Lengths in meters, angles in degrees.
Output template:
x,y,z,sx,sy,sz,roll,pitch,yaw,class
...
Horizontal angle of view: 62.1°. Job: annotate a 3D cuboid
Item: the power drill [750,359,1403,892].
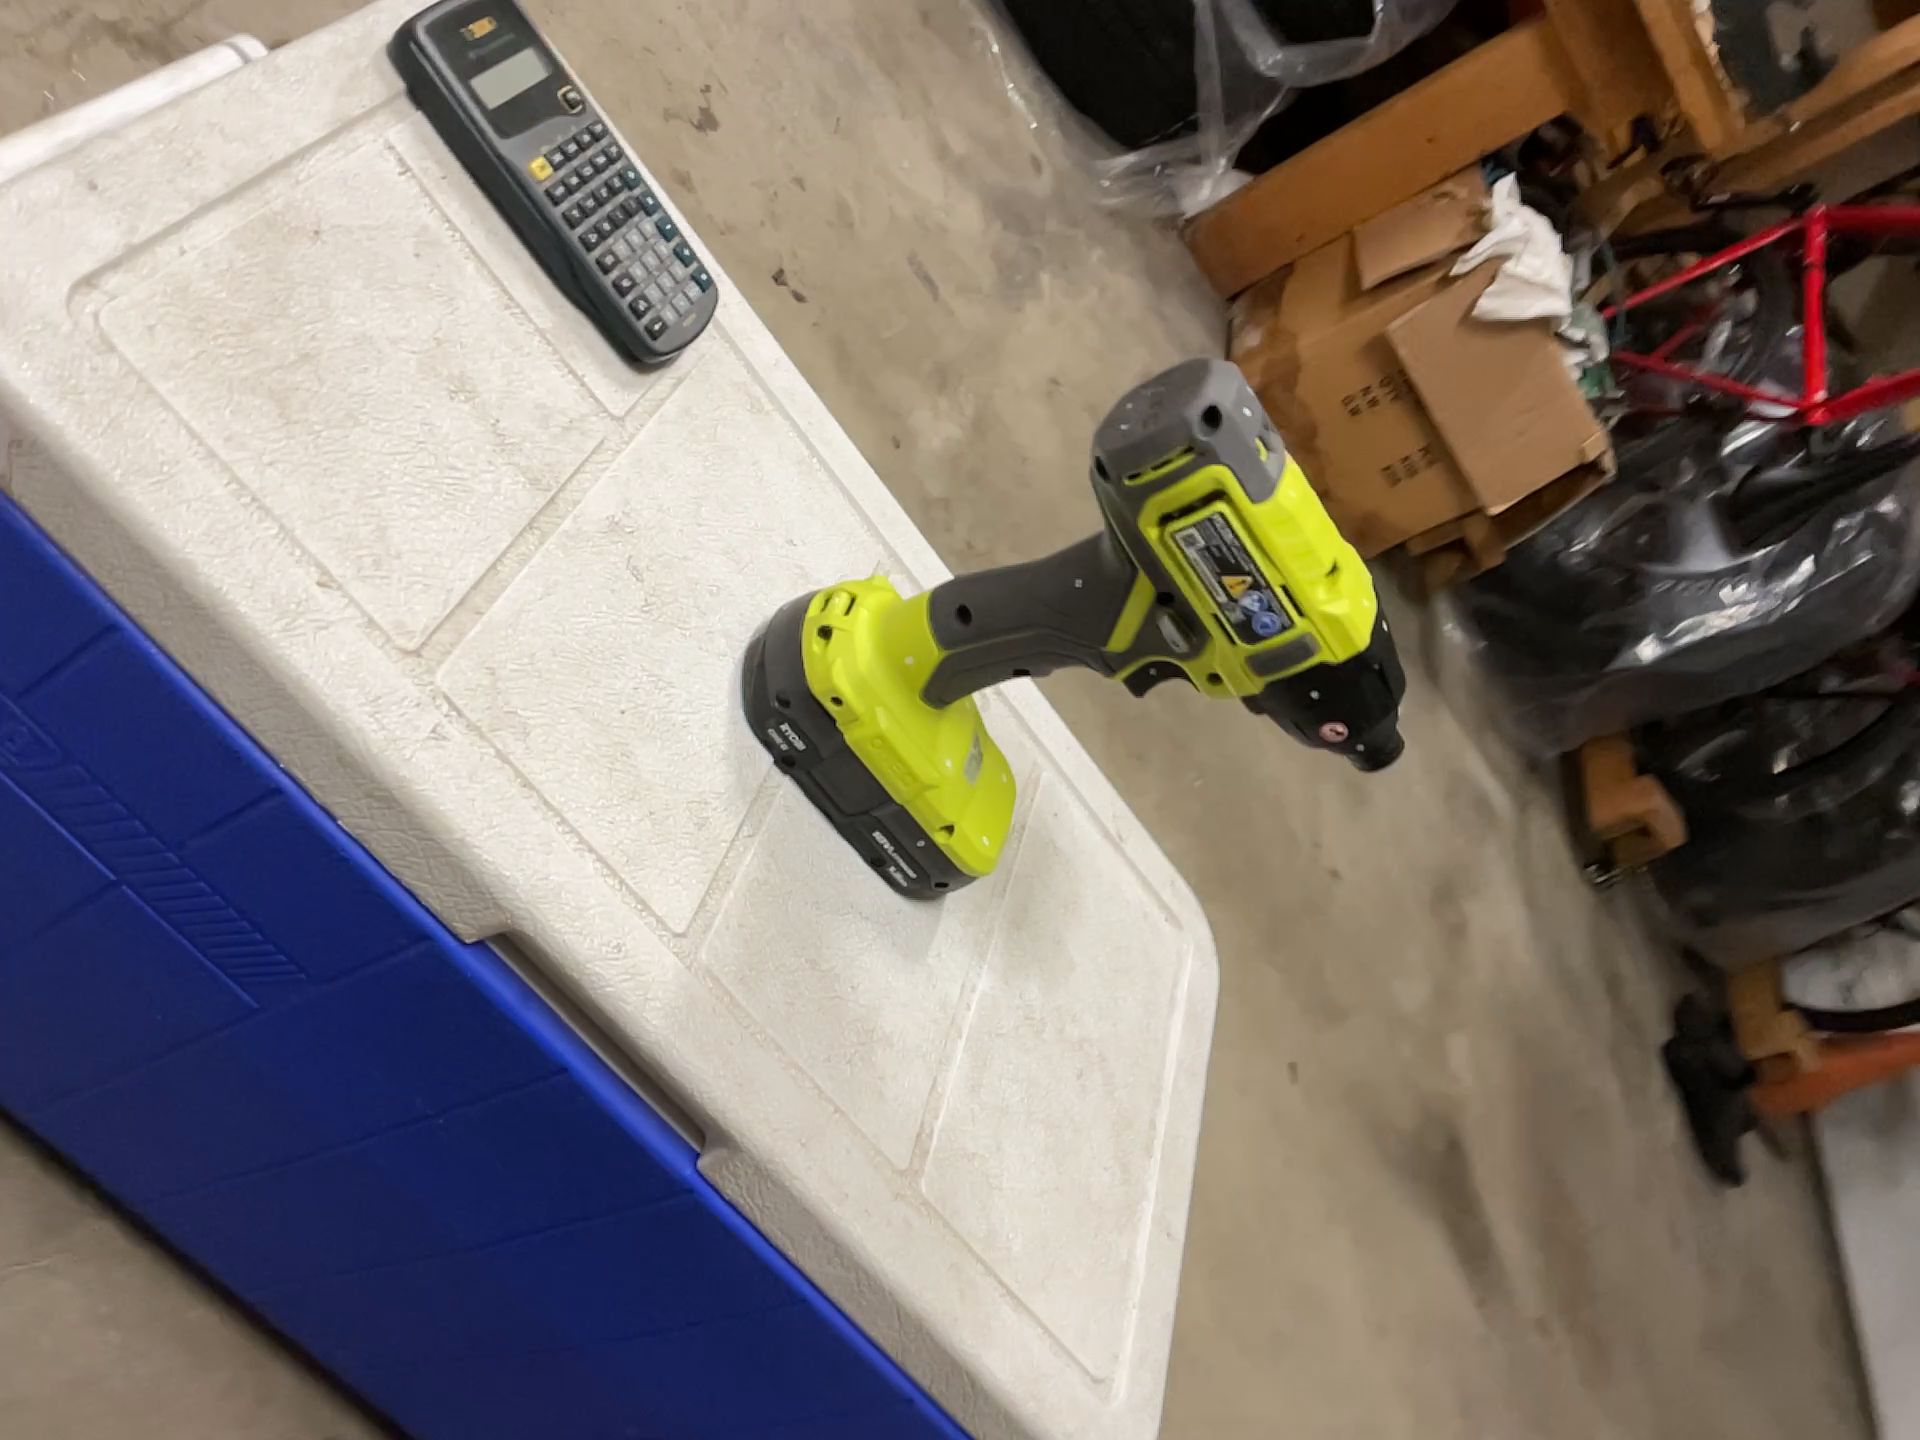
x,y,z,sx,sy,sz,roll,pitch,yaw,class
0.046,-0.018,0.616,0.171,0.223,0.080,52,34,-25,power drill
